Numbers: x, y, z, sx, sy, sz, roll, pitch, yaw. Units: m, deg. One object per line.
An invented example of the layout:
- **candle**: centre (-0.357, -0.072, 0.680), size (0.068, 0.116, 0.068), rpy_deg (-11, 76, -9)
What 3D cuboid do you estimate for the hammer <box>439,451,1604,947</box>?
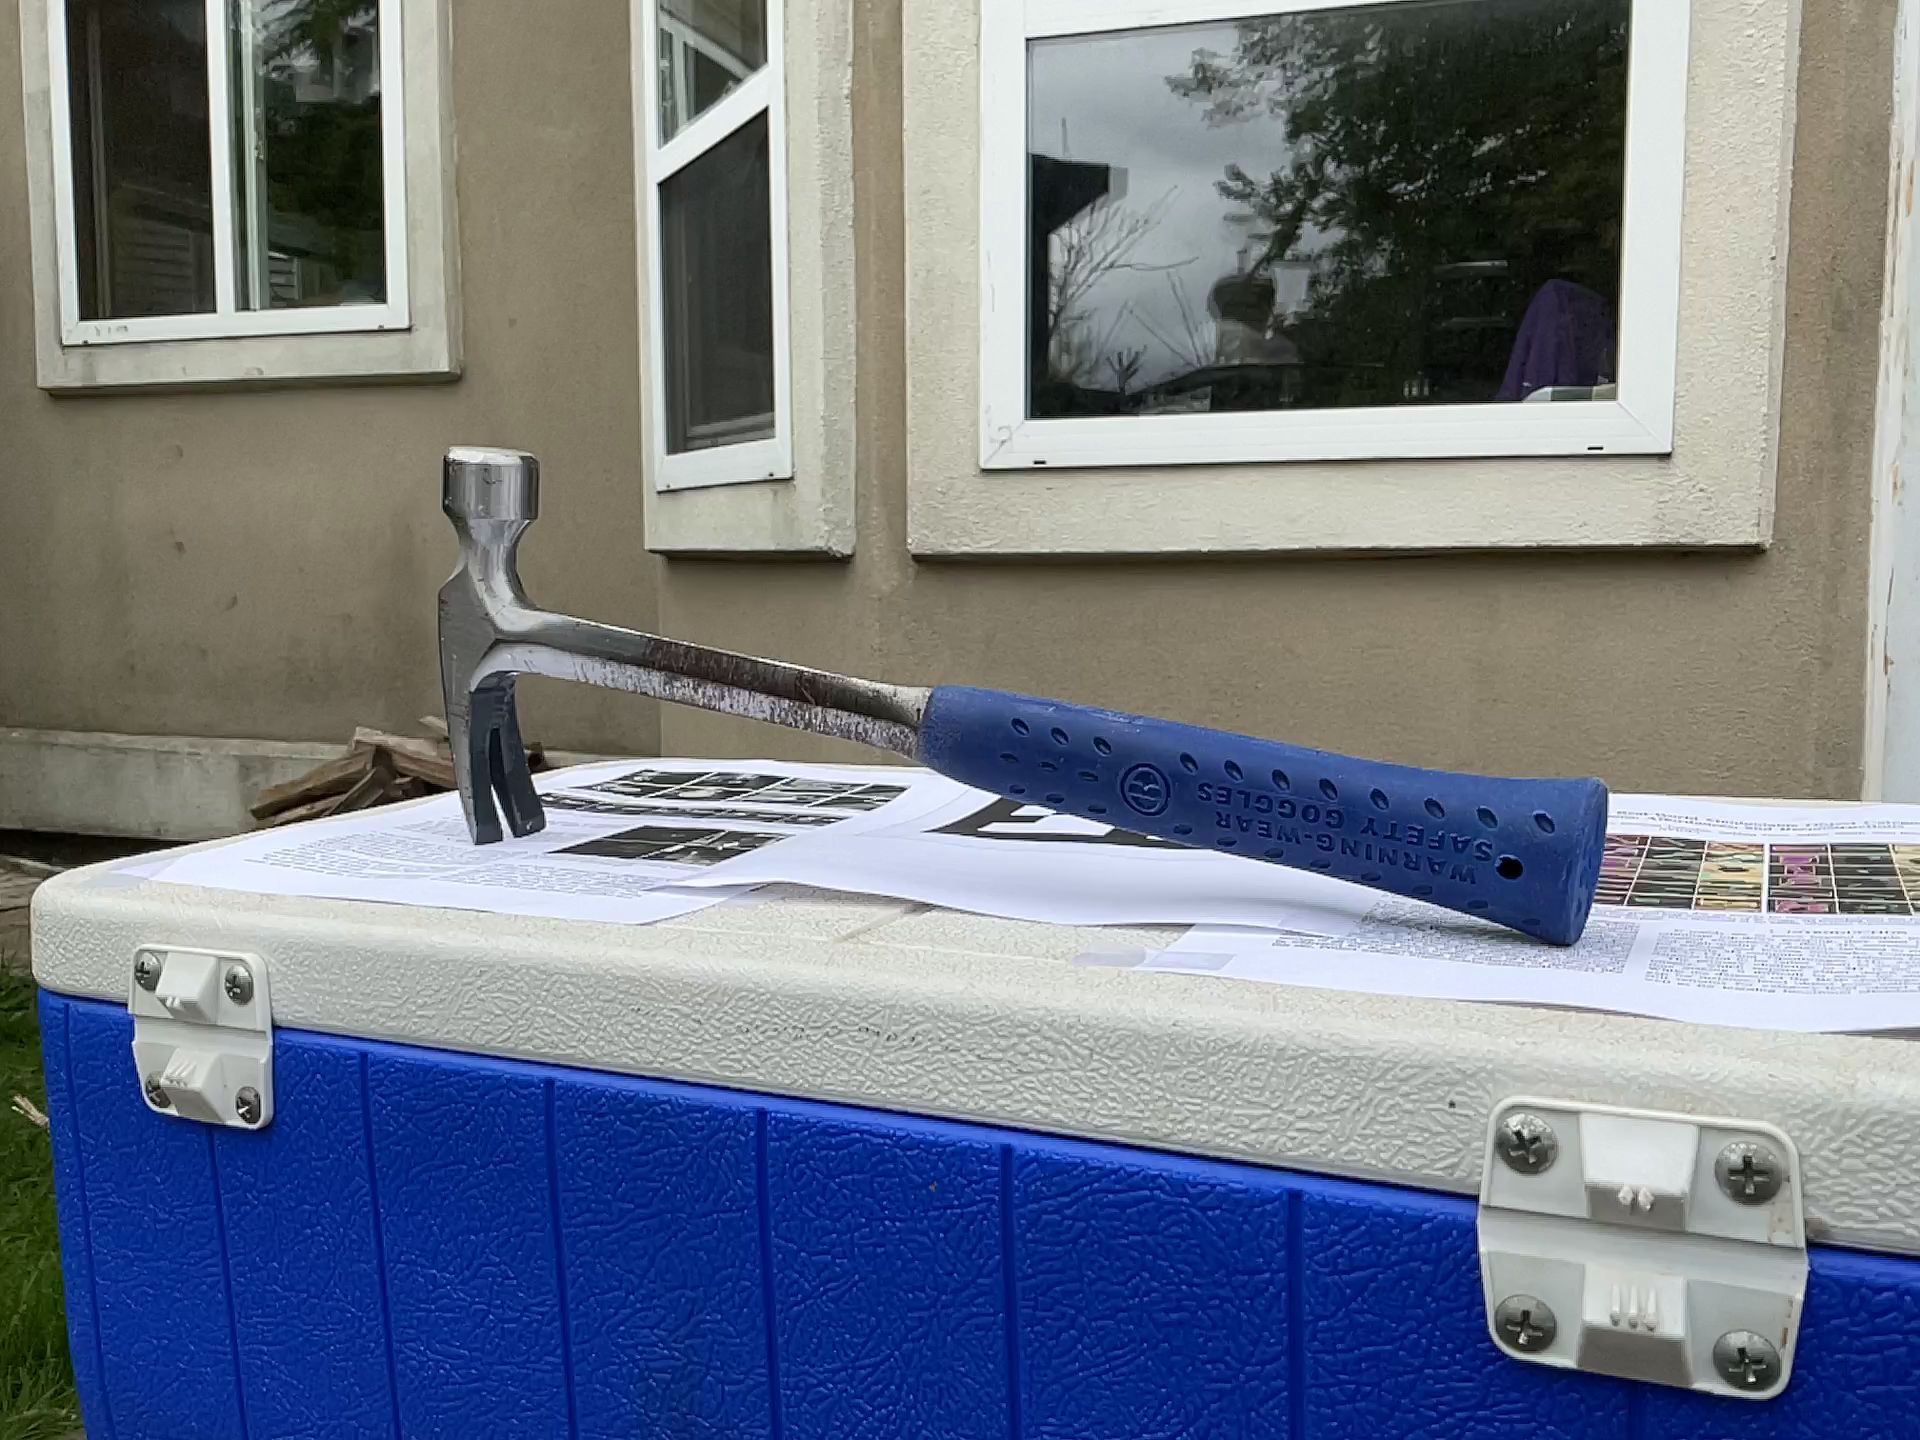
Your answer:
- **hammer**: centre (-0.017, 0.007, 0.499), size (0.405, 0.144, 0.035), rpy_deg (12, 14, 30)
